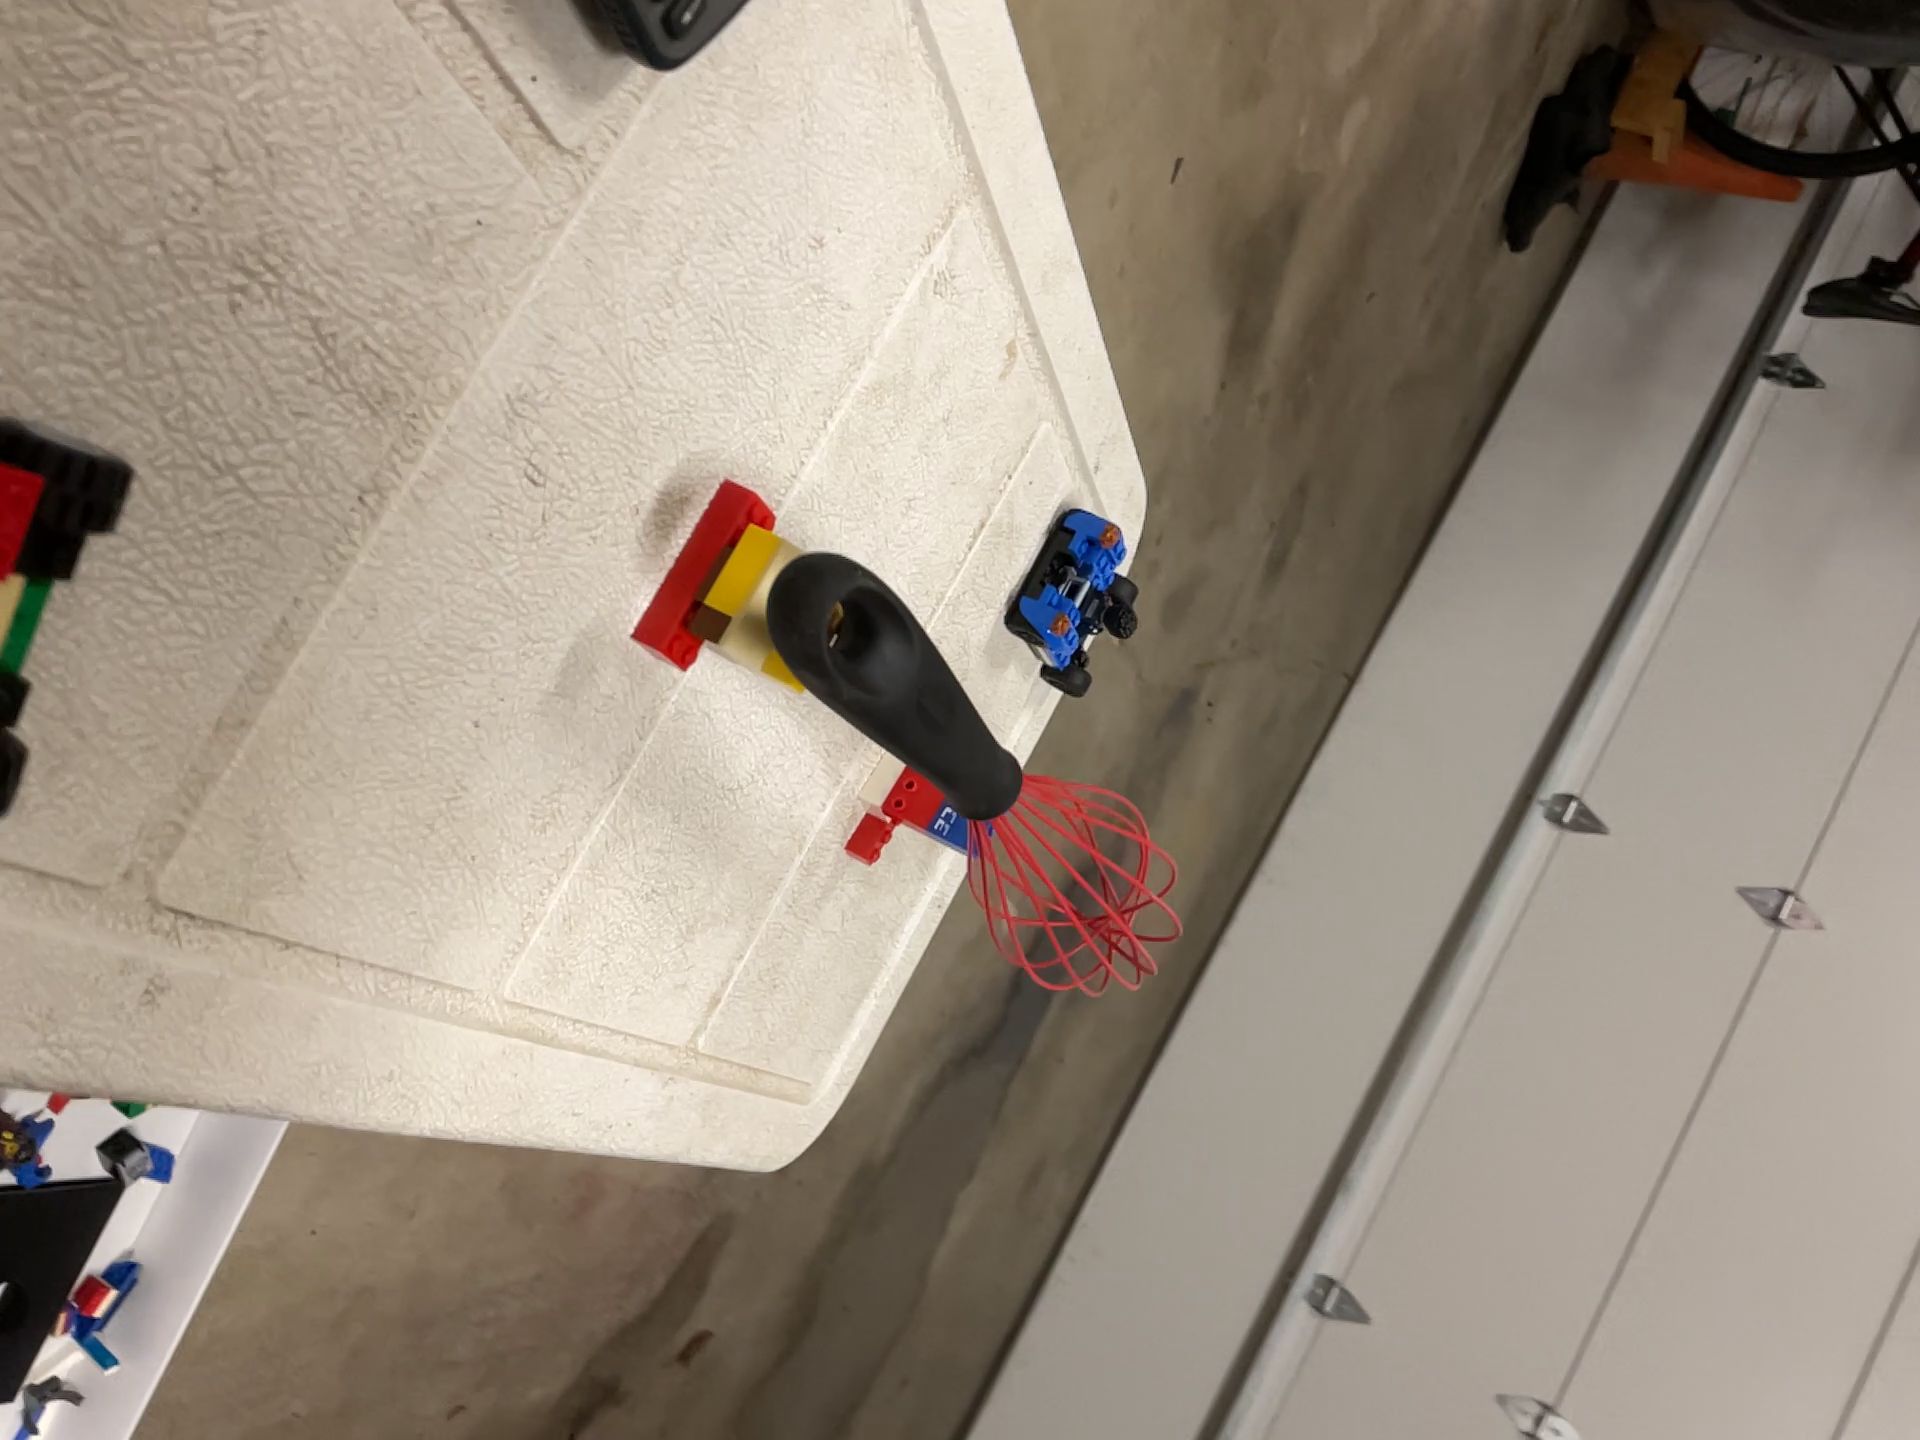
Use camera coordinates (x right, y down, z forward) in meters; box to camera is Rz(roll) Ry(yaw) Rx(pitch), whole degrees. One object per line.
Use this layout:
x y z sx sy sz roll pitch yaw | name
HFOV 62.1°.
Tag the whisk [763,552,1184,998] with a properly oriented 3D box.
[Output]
0.013 0.026 0.485 0.073 0.073 0.295 -58 150 -10 | whisk
